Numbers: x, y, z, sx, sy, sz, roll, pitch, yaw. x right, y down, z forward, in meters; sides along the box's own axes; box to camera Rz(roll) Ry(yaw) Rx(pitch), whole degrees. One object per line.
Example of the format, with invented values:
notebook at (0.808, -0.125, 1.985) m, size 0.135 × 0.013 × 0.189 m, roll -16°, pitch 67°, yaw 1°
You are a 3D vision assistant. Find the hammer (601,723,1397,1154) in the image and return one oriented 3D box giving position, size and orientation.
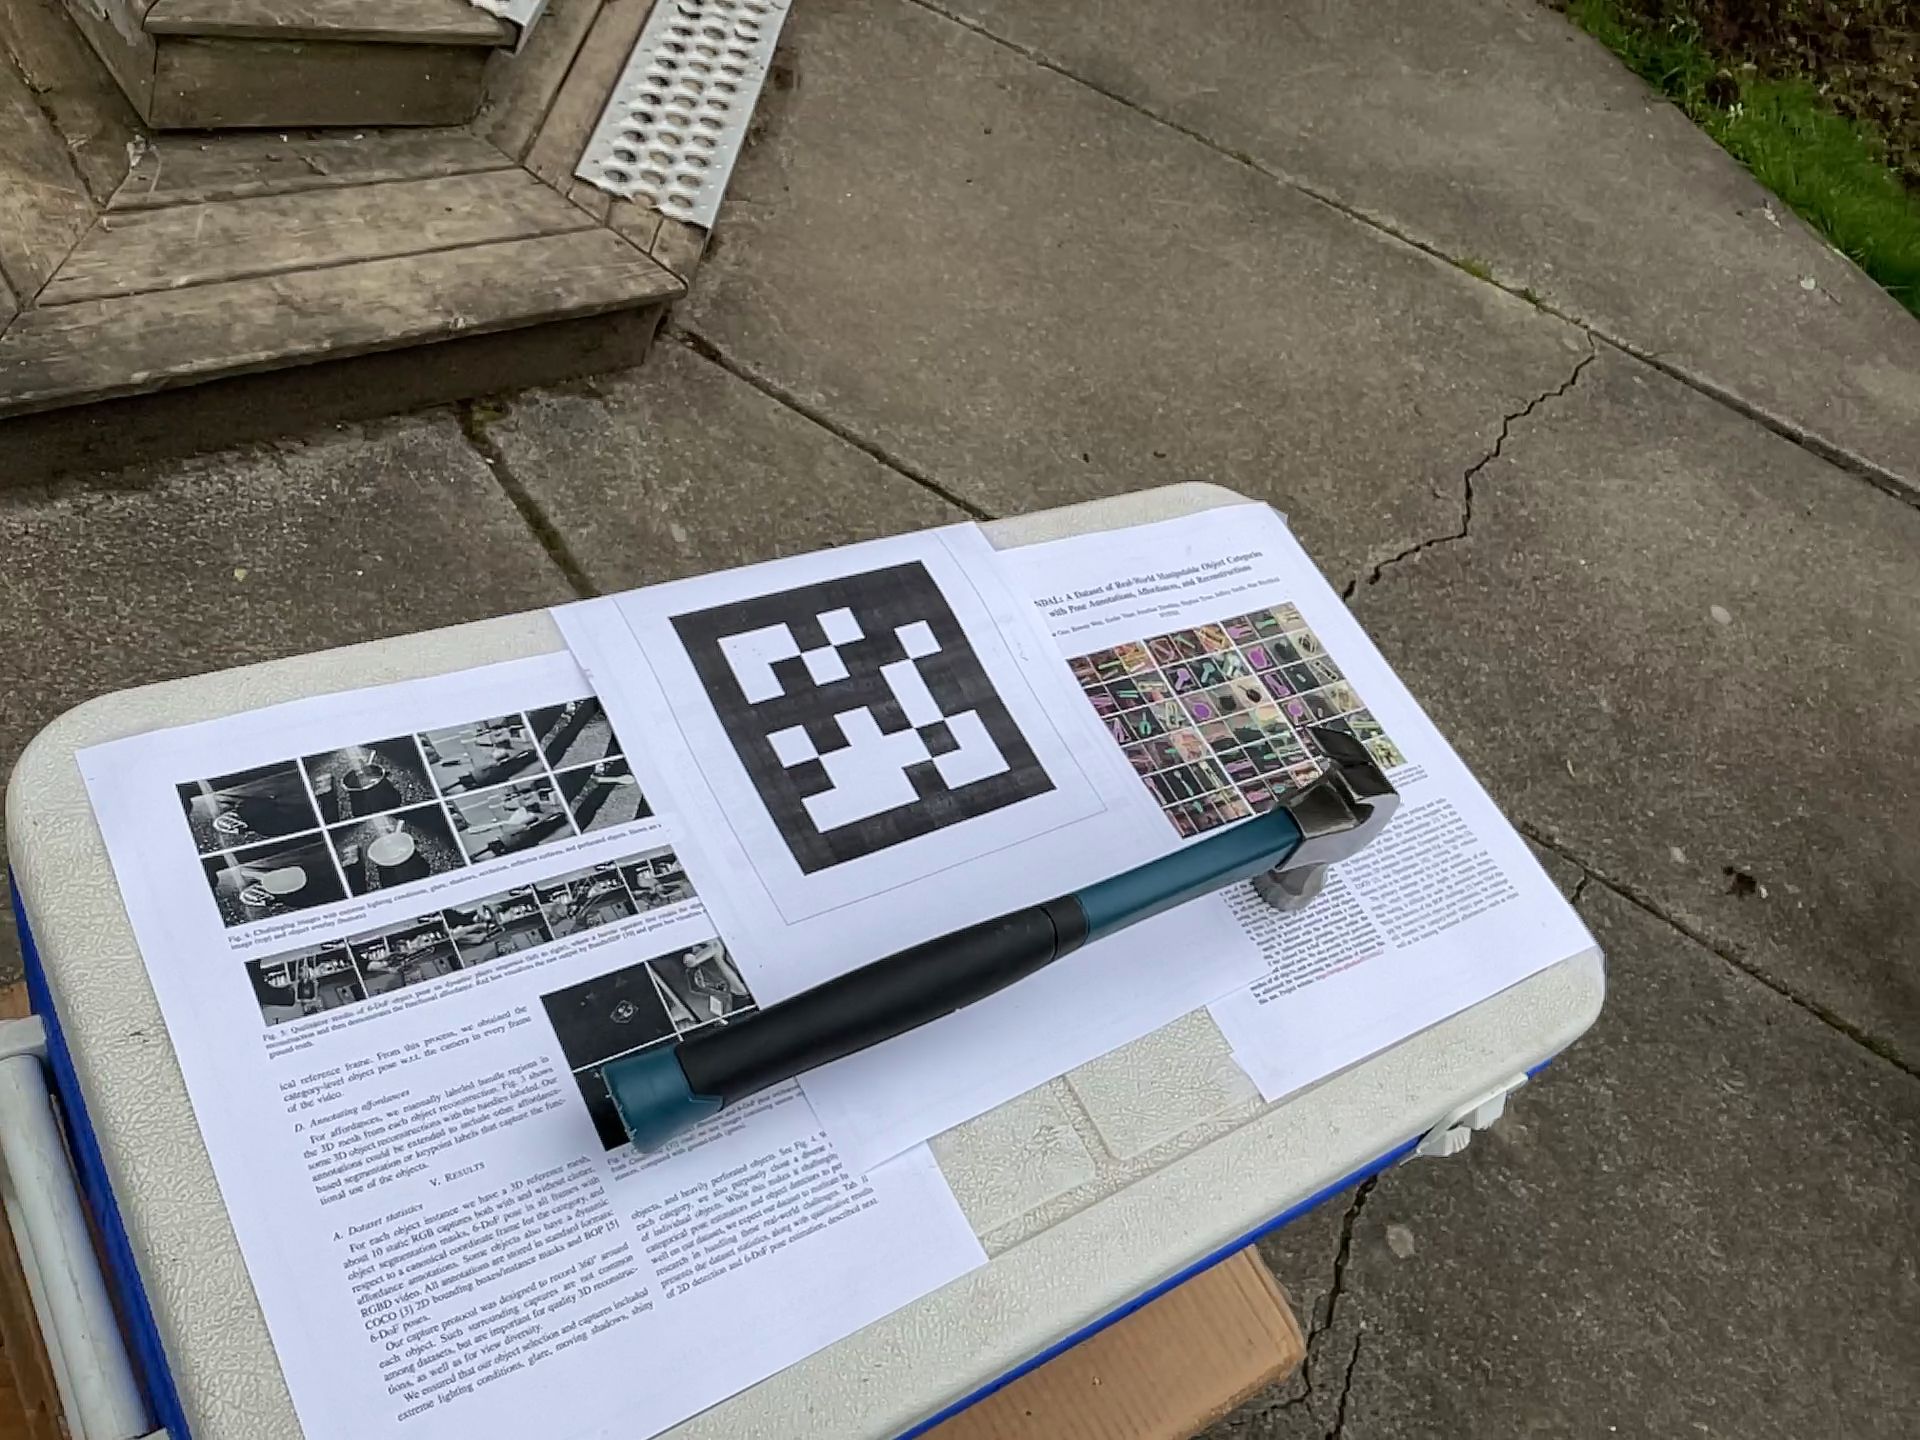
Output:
hammer at (0.028, 0.080, 0.584) m, size 0.331 × 0.128 × 0.033 m, roll -19°, pitch 63°, yaw -26°
